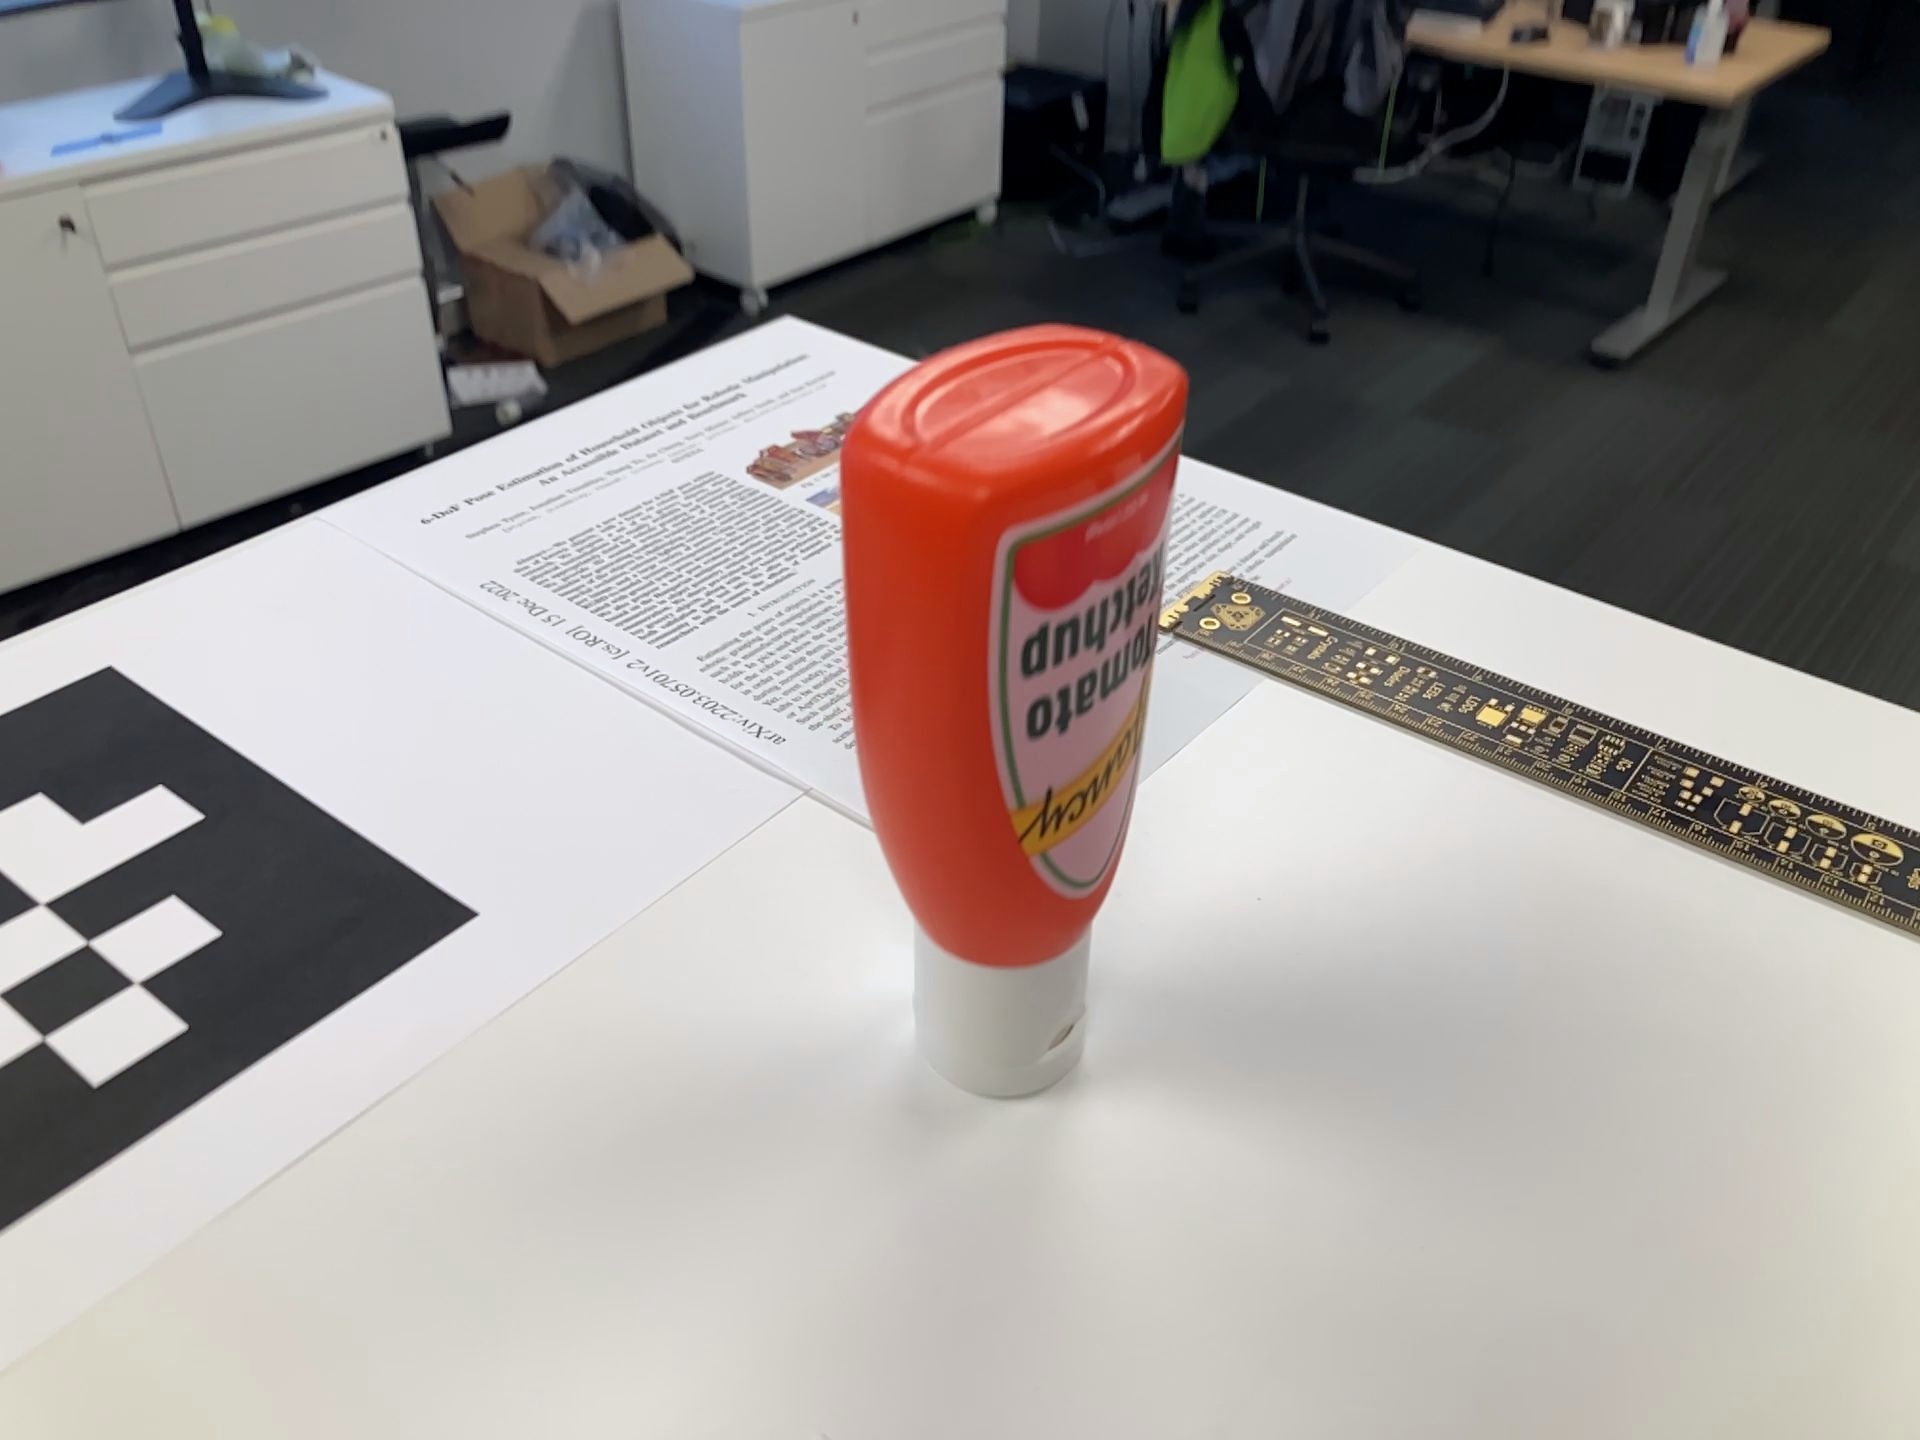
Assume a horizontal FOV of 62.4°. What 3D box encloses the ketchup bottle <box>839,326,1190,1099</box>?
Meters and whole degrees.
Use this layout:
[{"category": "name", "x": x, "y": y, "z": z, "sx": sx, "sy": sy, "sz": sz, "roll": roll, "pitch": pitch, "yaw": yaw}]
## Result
[{"category": "ketchup bottle", "x": 0.009, "y": 0.007, "z": 0.293, "sx": 0.043, "sy": 0.149, "sz": 0.065, "roll": 27, "pitch": 44, "yaw": 30}]
